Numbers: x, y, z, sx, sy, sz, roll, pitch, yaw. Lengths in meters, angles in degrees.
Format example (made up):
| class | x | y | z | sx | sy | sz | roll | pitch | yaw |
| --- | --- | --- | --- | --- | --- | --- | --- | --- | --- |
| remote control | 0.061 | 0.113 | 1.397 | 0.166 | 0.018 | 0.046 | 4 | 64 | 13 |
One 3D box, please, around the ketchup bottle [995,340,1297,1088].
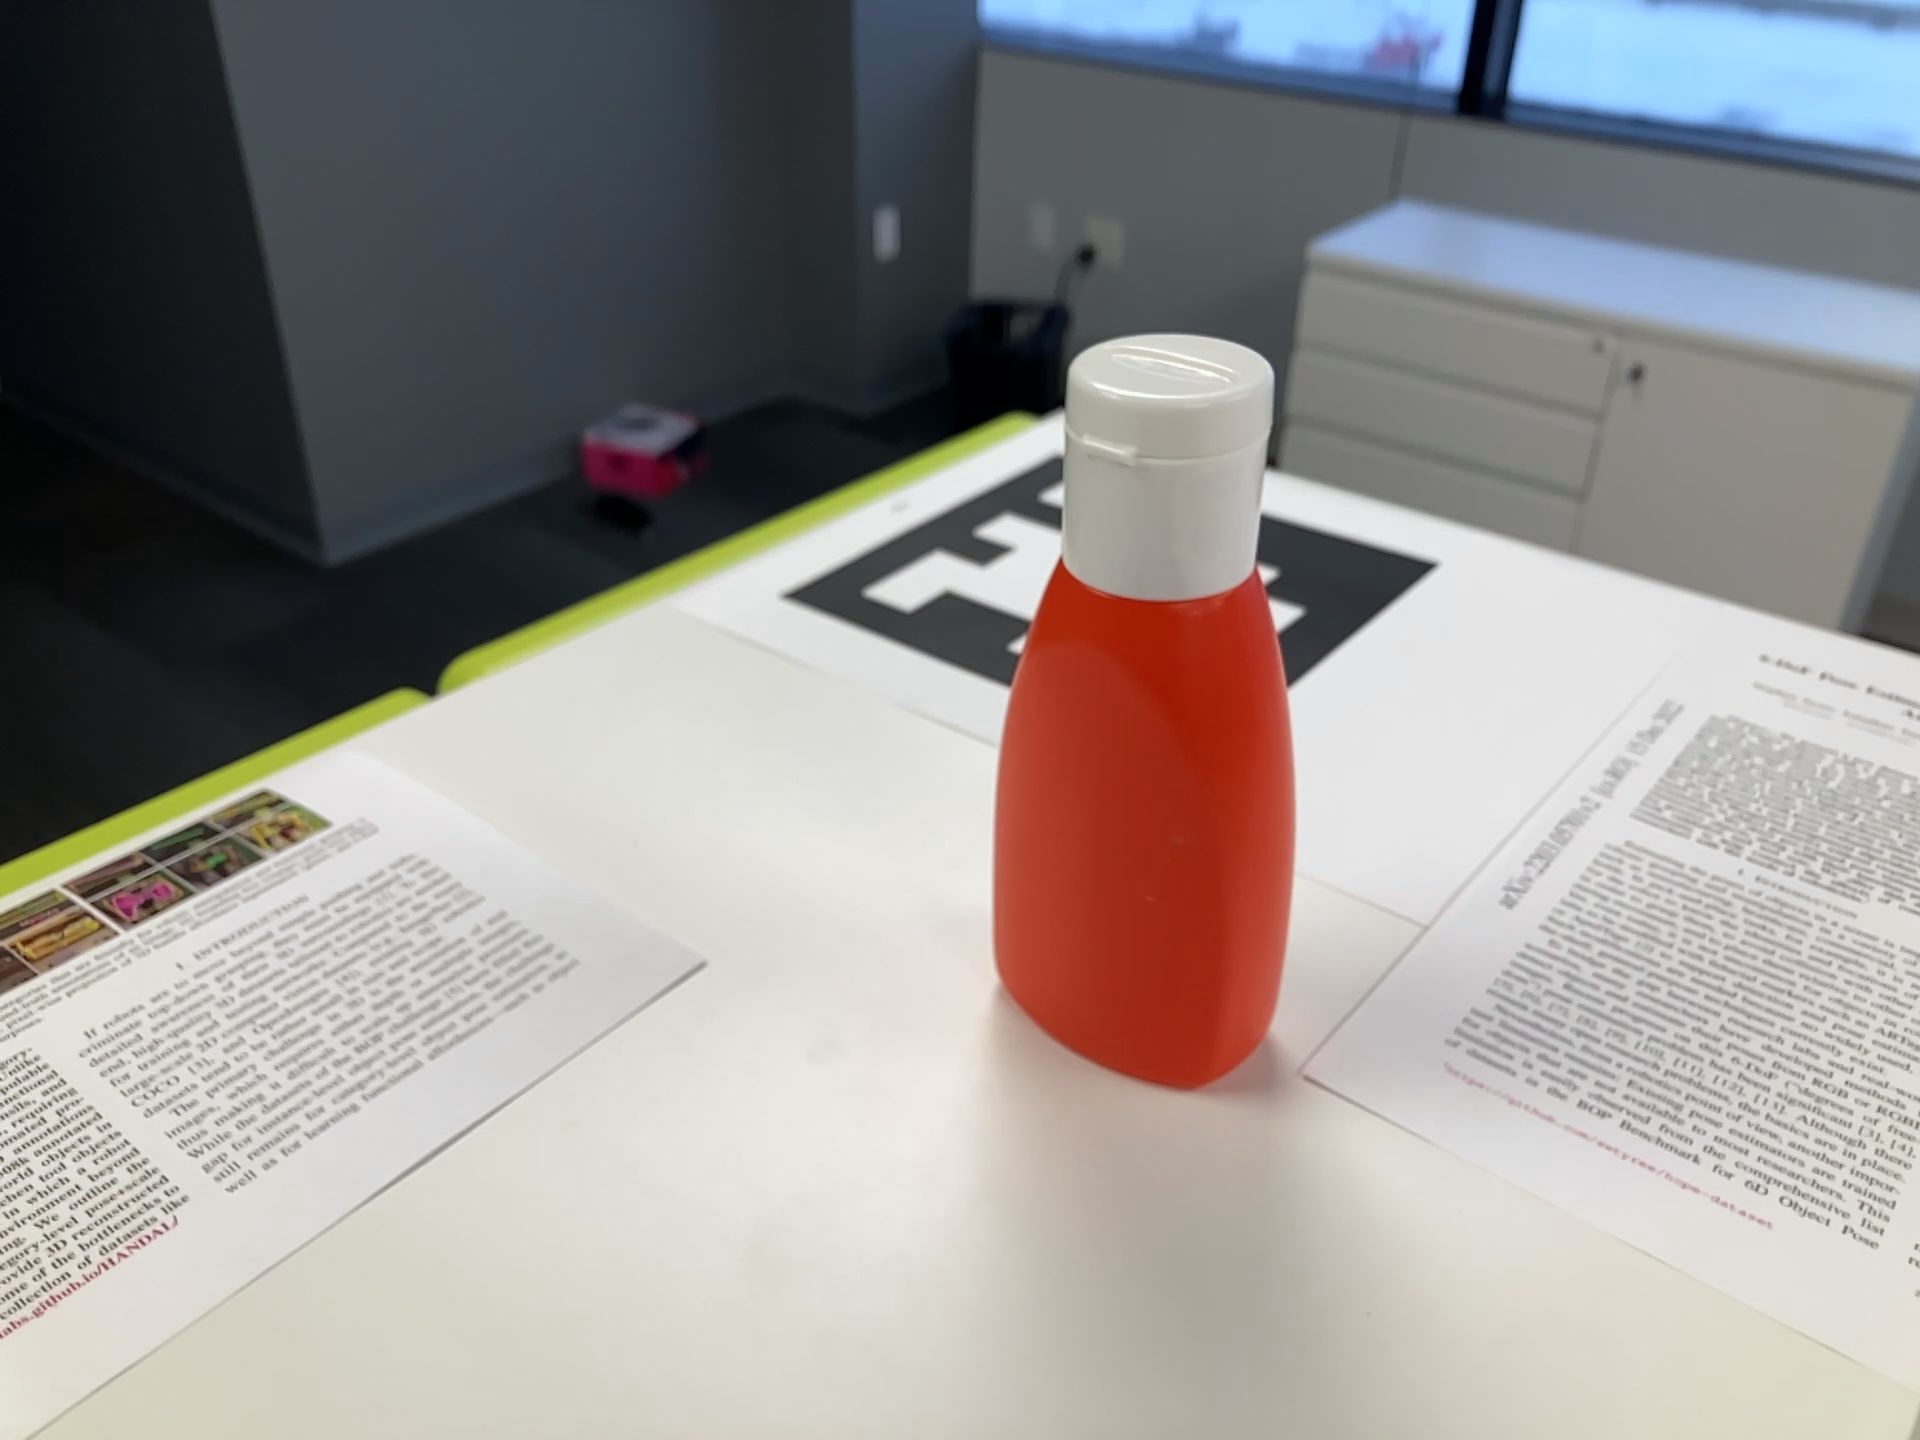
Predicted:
| class | x | y | z | sx | sy | sz | roll | pitch | yaw |
| --- | --- | --- | --- | --- | --- | --- | --- | --- | --- |
| ketchup bottle | 0.037 | 0.002 | 0.319 | 0.065 | 0.149 | 0.043 | 23 | 40 | 33 |
